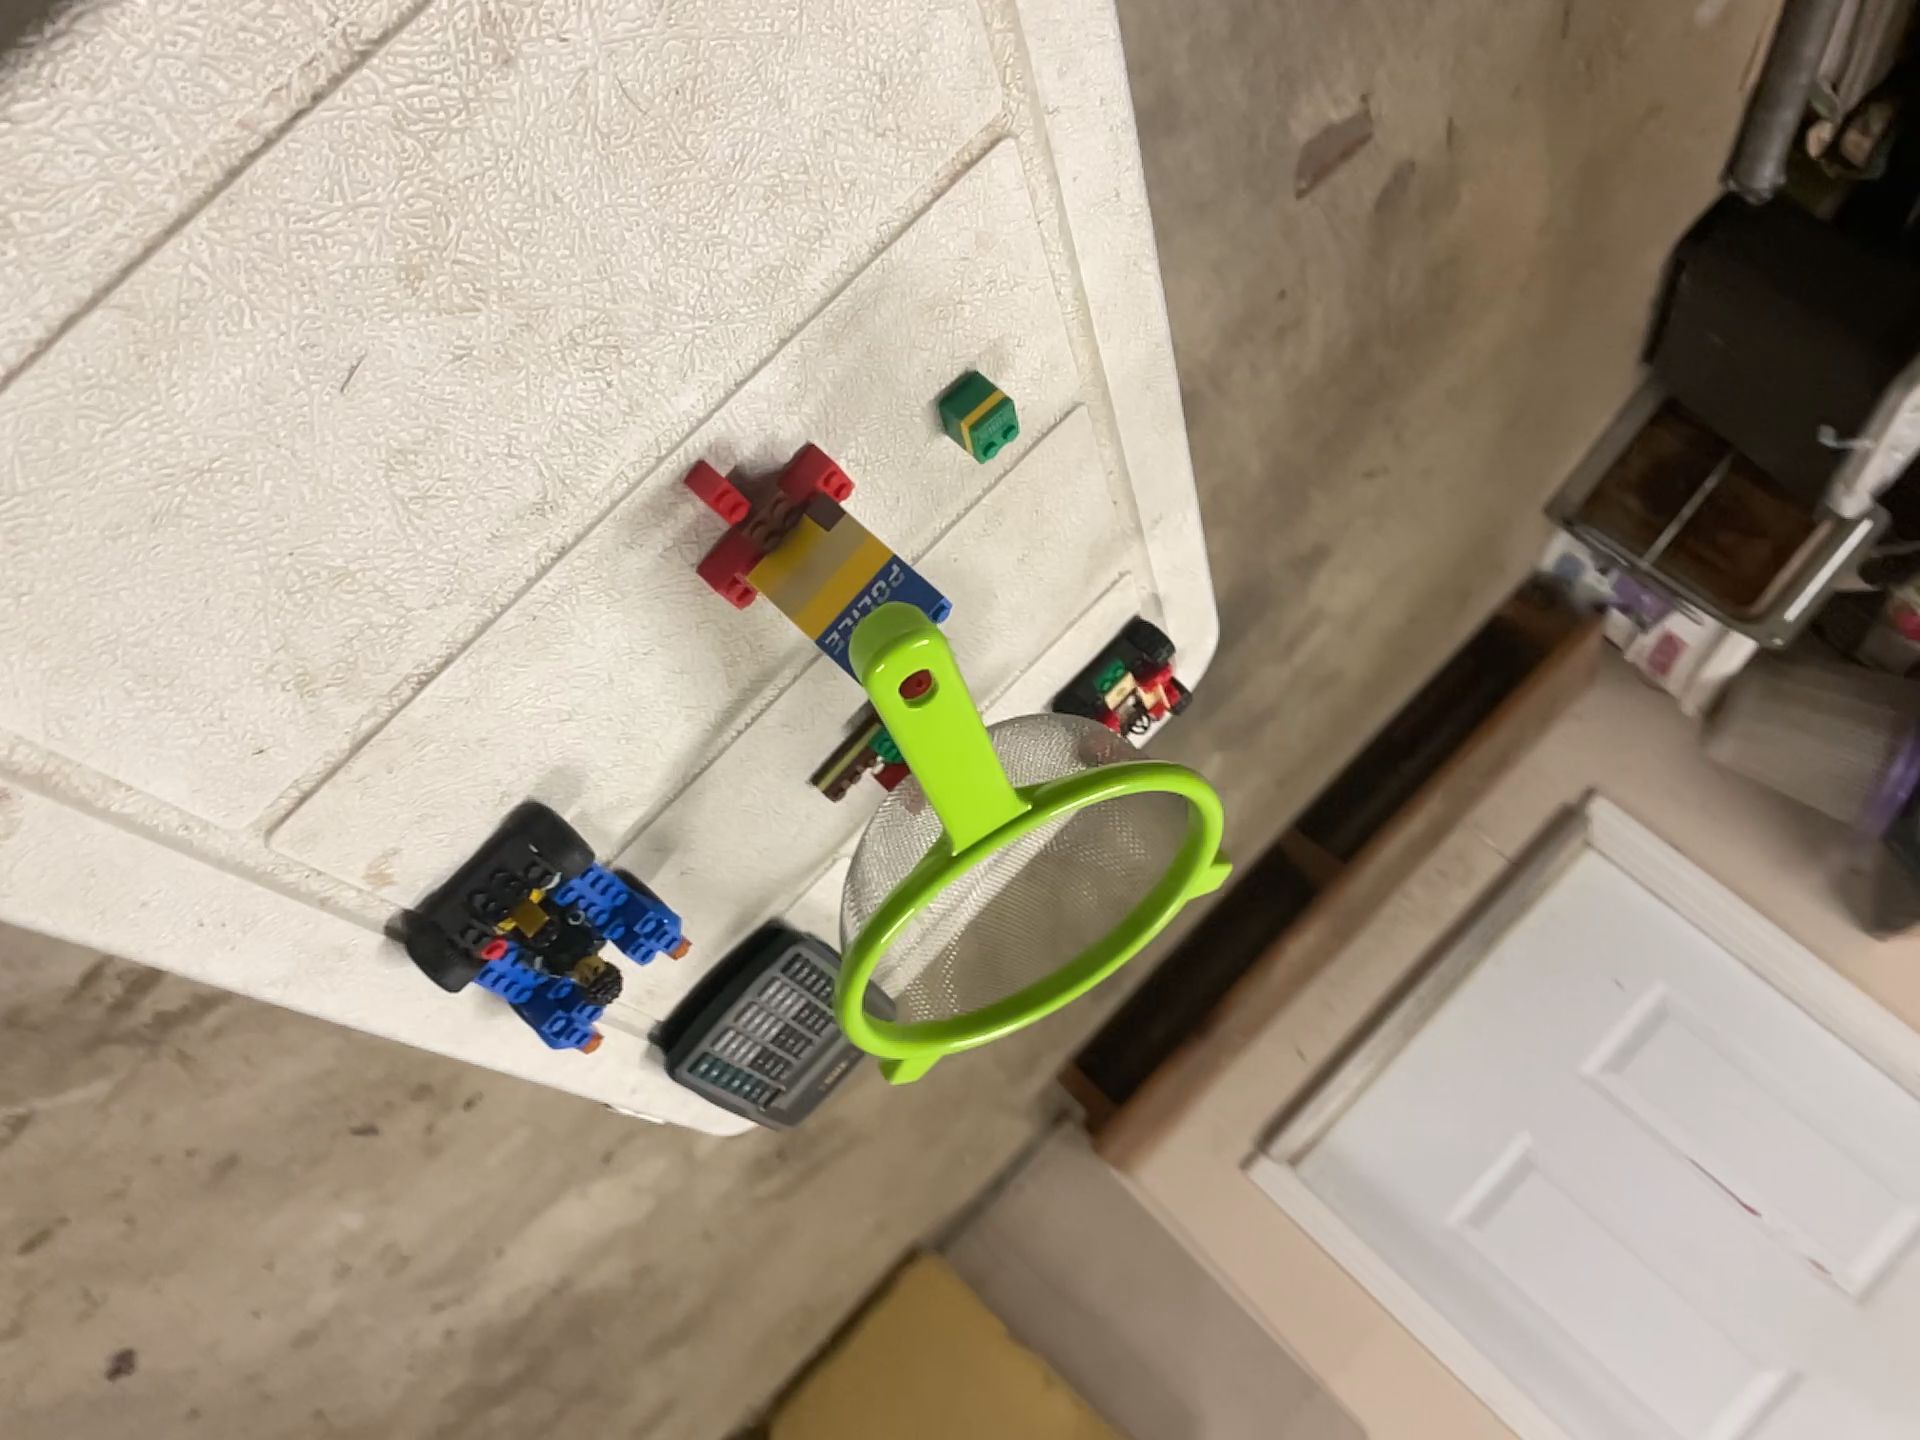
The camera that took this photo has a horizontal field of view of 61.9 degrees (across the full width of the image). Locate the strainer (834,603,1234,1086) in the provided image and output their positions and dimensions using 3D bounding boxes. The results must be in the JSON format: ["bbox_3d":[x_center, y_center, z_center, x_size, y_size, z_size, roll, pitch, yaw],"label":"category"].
[{"bbox_3d":[0.000,0.023,0.516,0.151,0.069,0.256,-32,147,-4],"label":"strainer"}]
